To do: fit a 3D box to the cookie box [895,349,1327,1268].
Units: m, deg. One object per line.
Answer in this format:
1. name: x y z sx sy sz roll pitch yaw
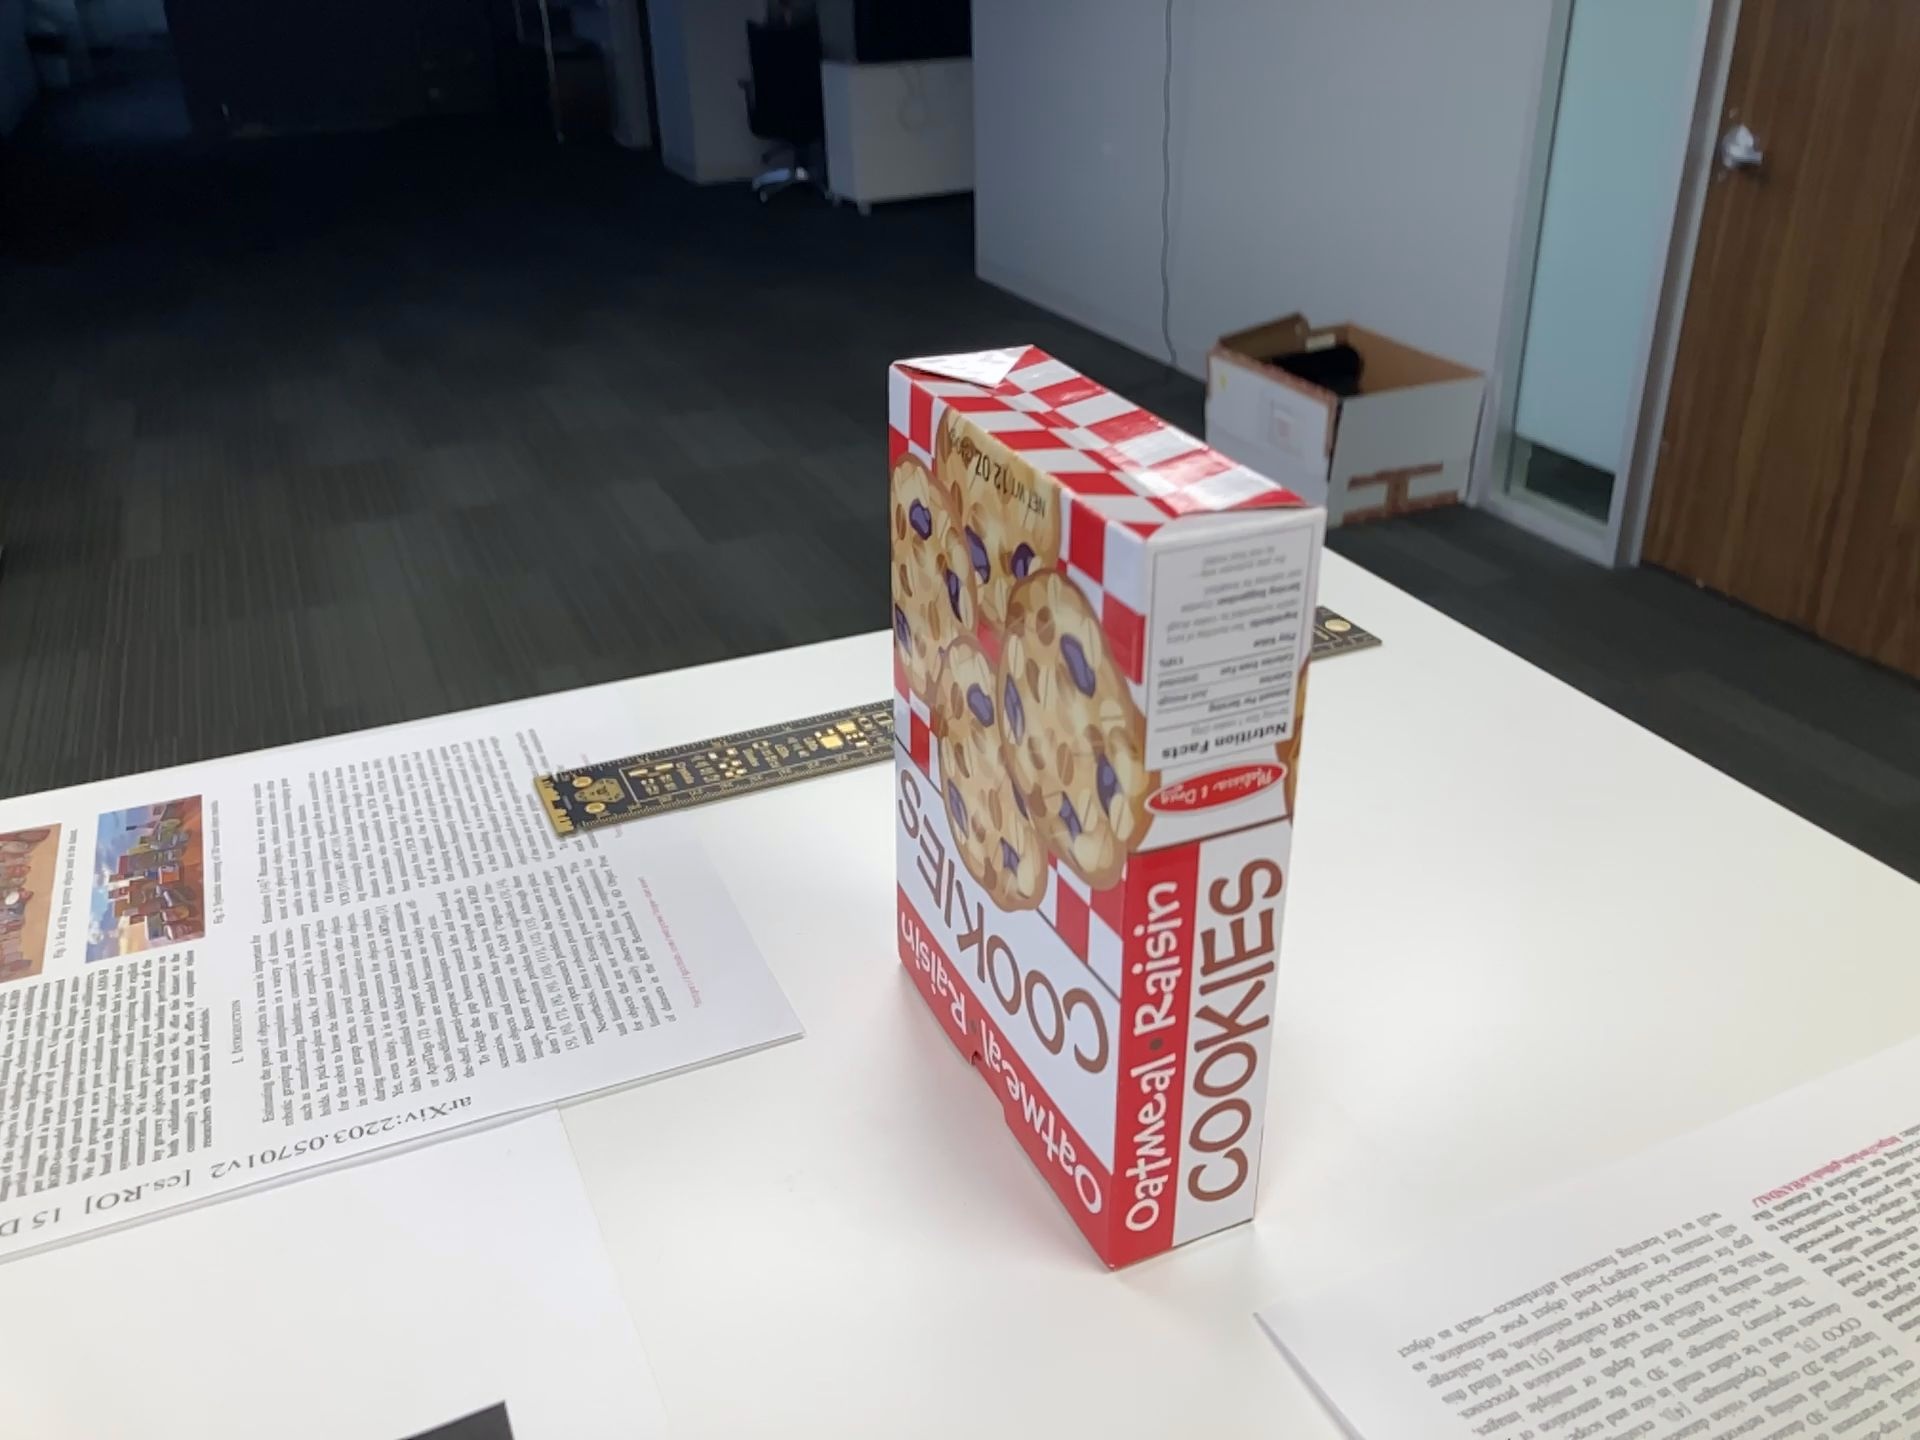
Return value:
1. cookie box: 0.024 0.016 0.357 0.040 0.167 0.123 -11 30 -20
